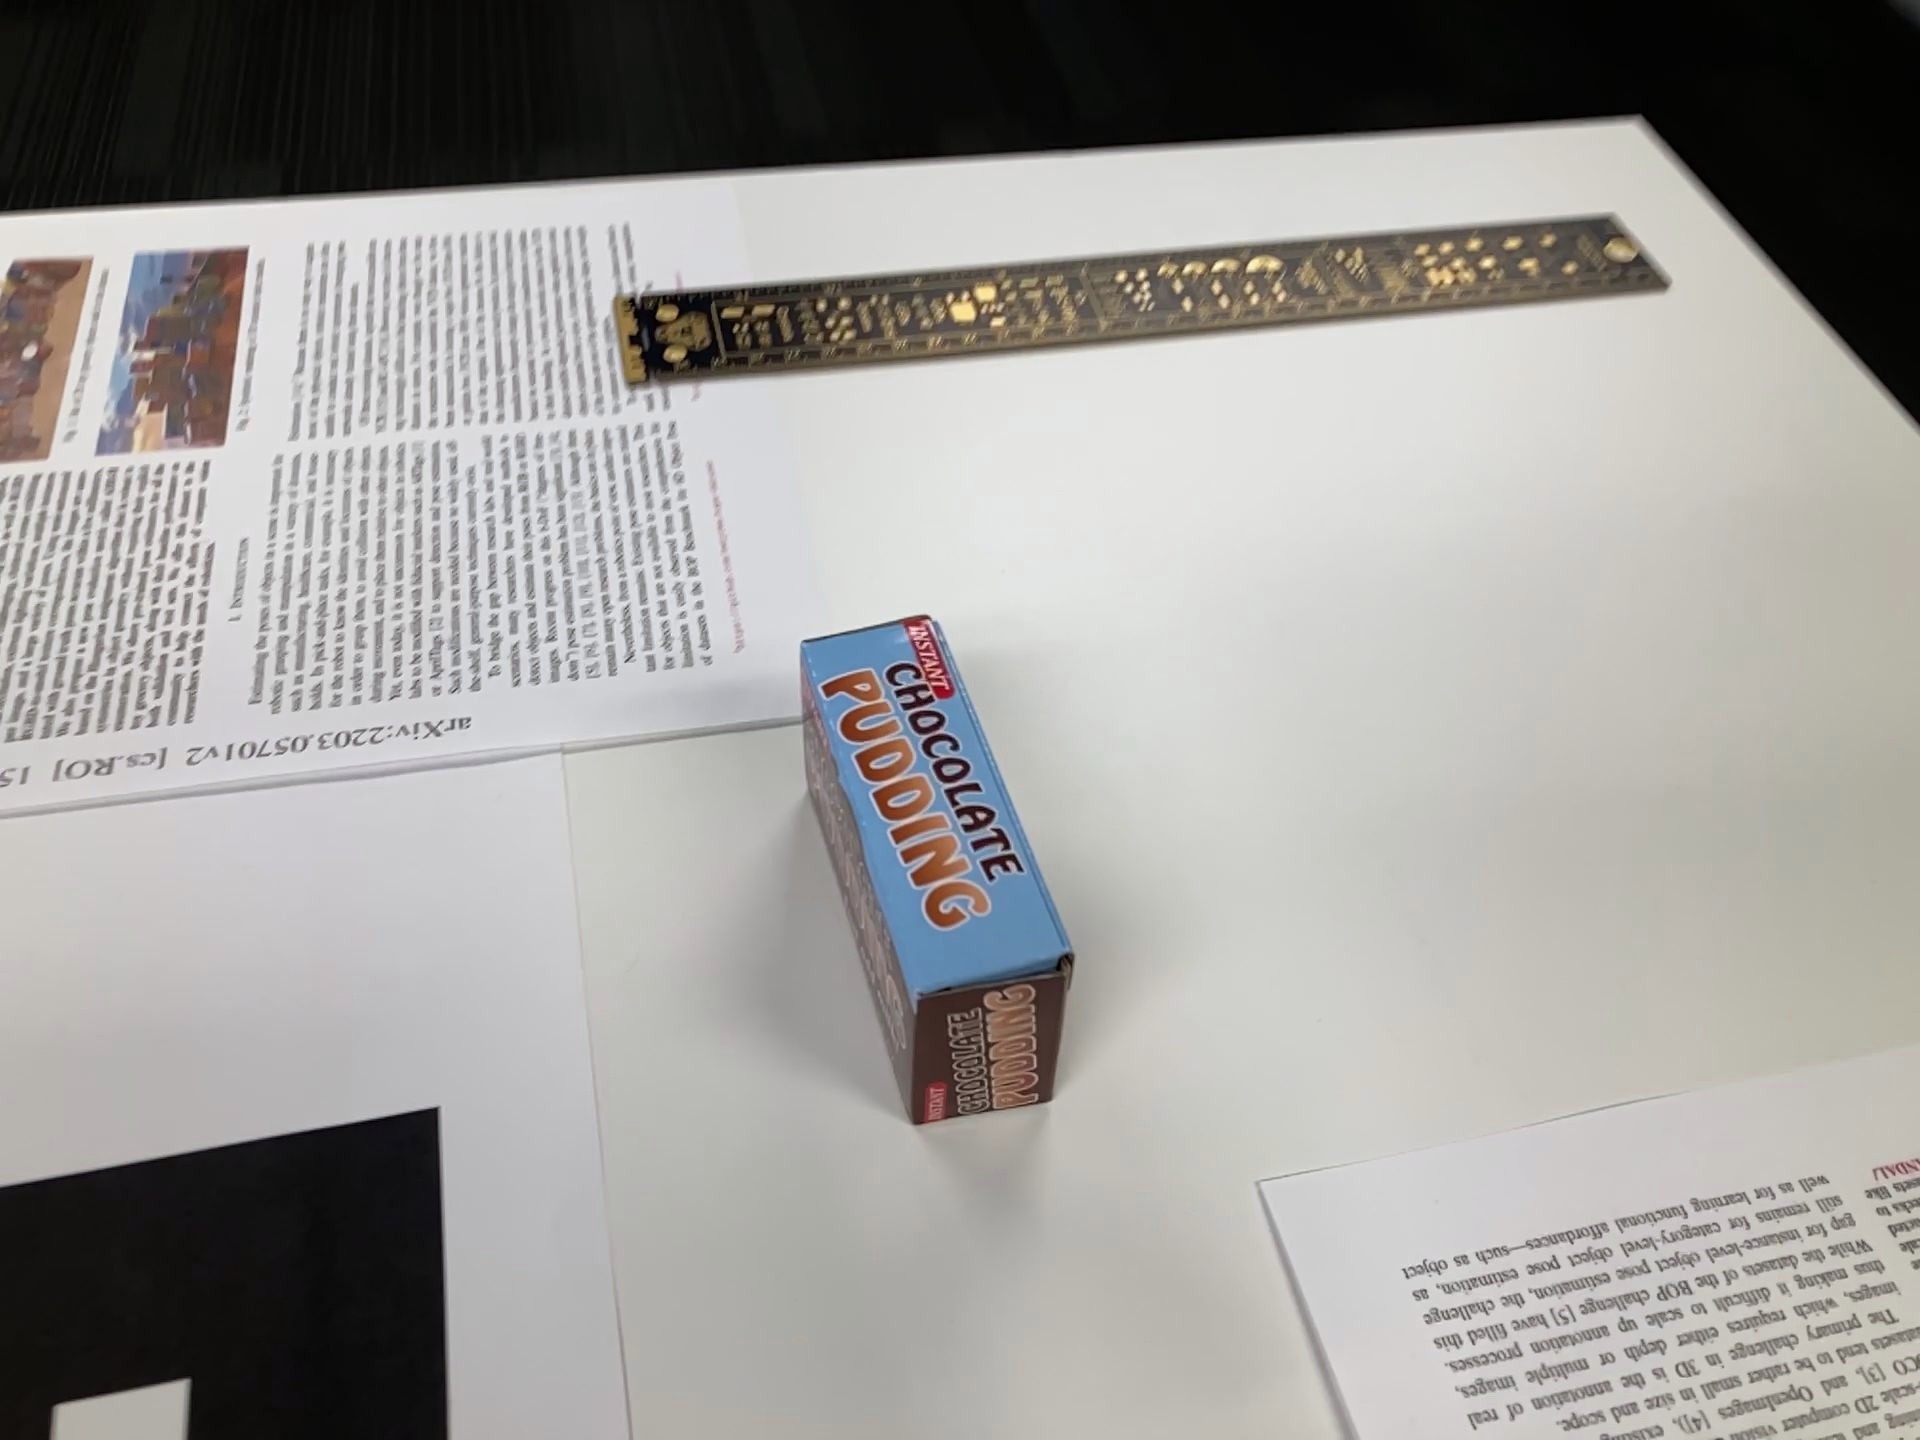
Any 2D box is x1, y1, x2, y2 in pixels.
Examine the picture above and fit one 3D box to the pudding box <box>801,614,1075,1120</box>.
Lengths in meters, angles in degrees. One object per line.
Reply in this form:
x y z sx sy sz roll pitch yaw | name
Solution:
-0.006 0.027 0.303 0.030 0.049 0.083 -12 53 -12 | pudding box
